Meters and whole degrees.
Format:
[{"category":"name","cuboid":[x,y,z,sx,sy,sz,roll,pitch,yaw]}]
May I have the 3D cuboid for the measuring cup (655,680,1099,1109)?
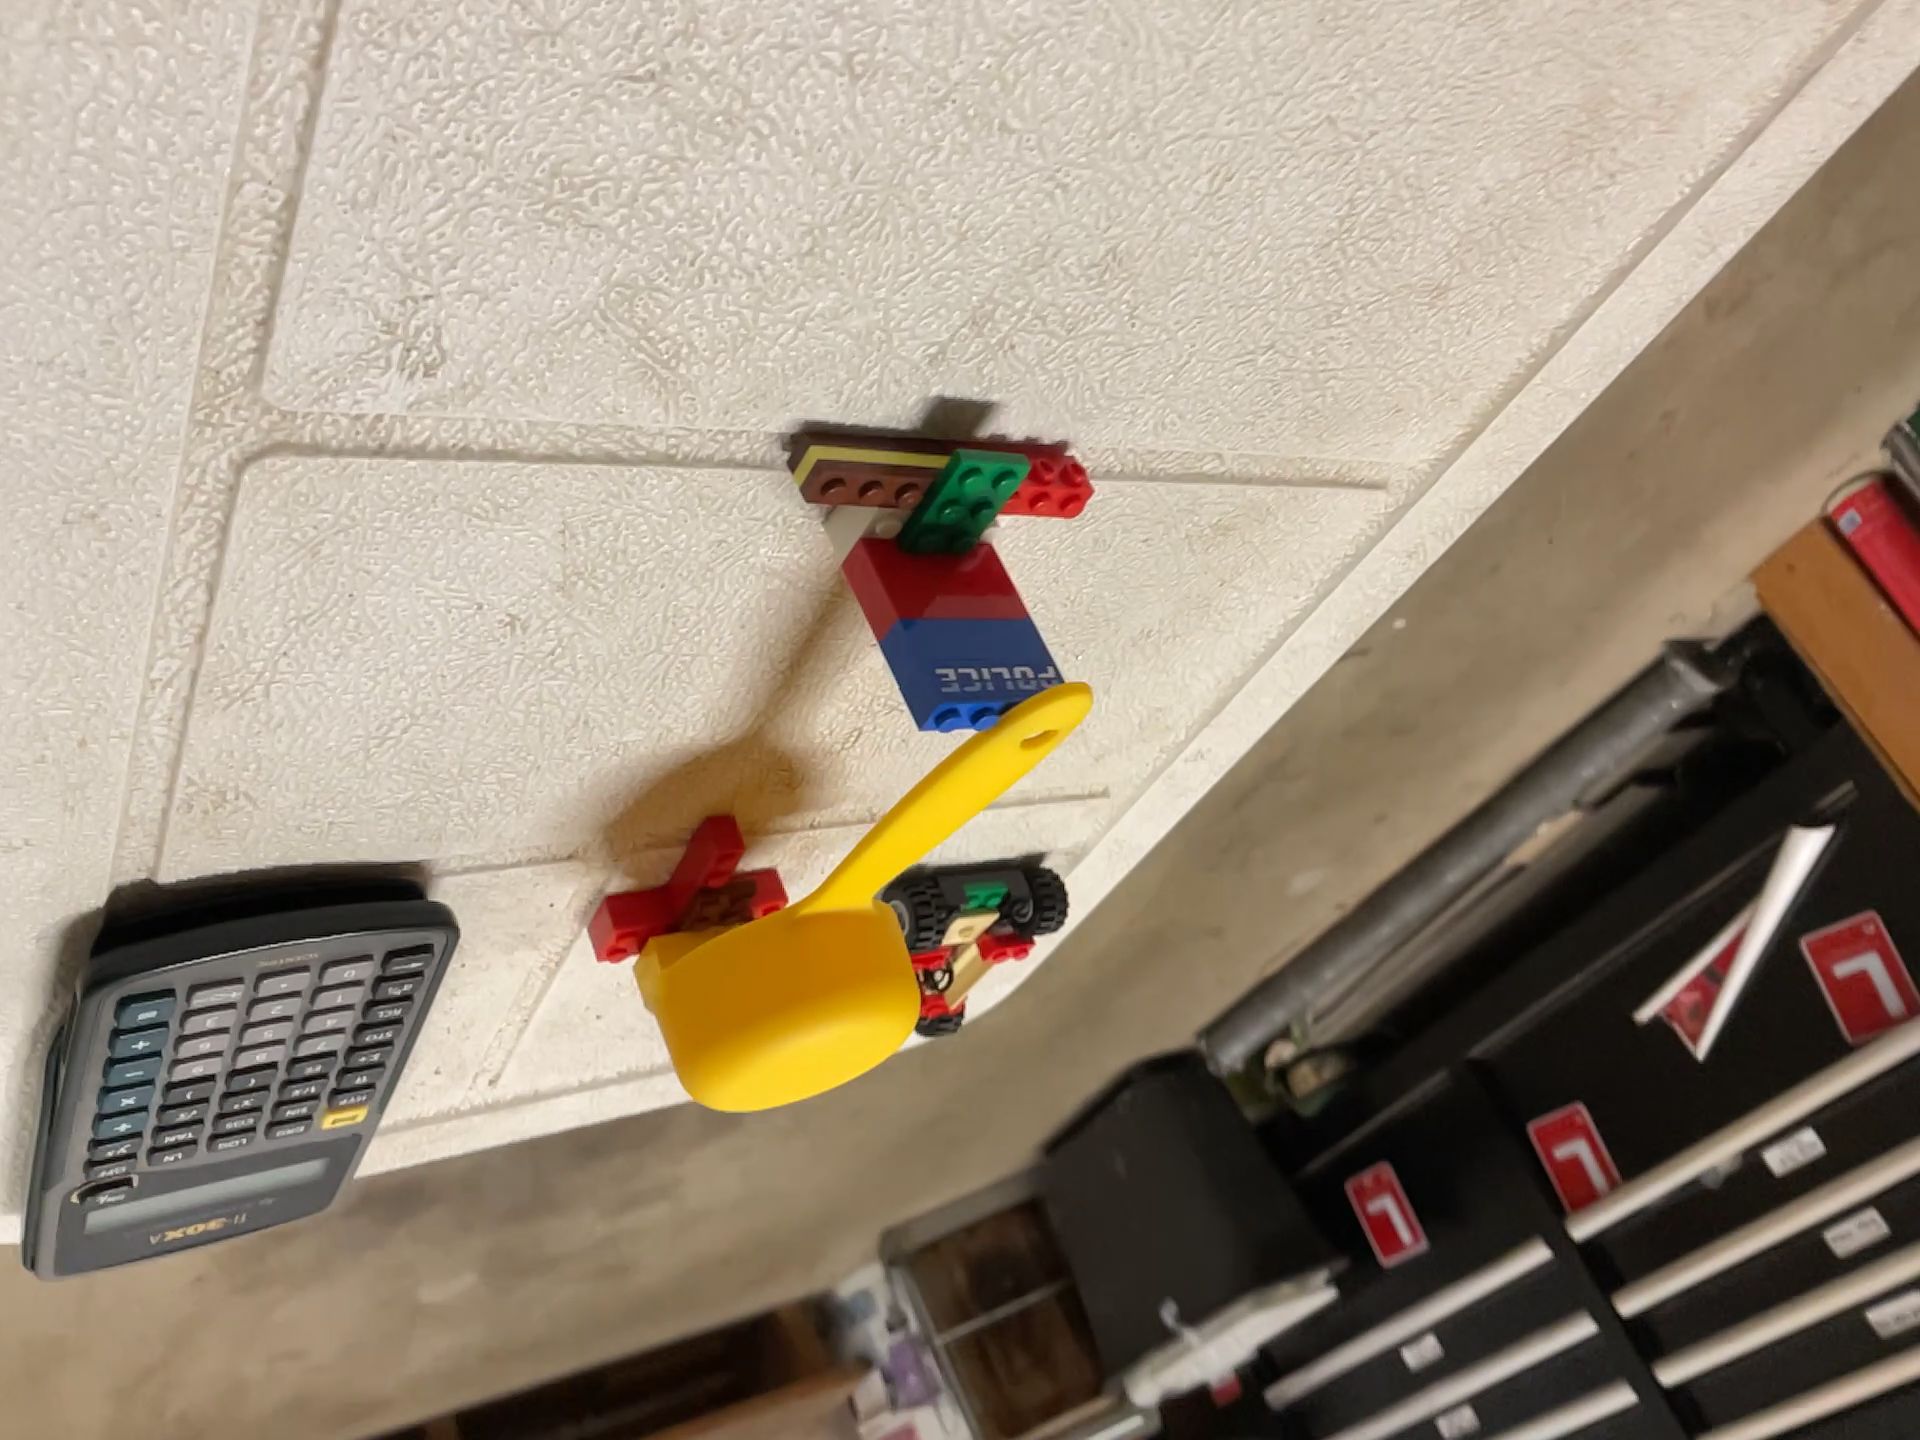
[{"category":"measuring cup","cuboid":[-0.013,0.043,0.334,0.062,0.029,0.156,-4,151,-37]}]
